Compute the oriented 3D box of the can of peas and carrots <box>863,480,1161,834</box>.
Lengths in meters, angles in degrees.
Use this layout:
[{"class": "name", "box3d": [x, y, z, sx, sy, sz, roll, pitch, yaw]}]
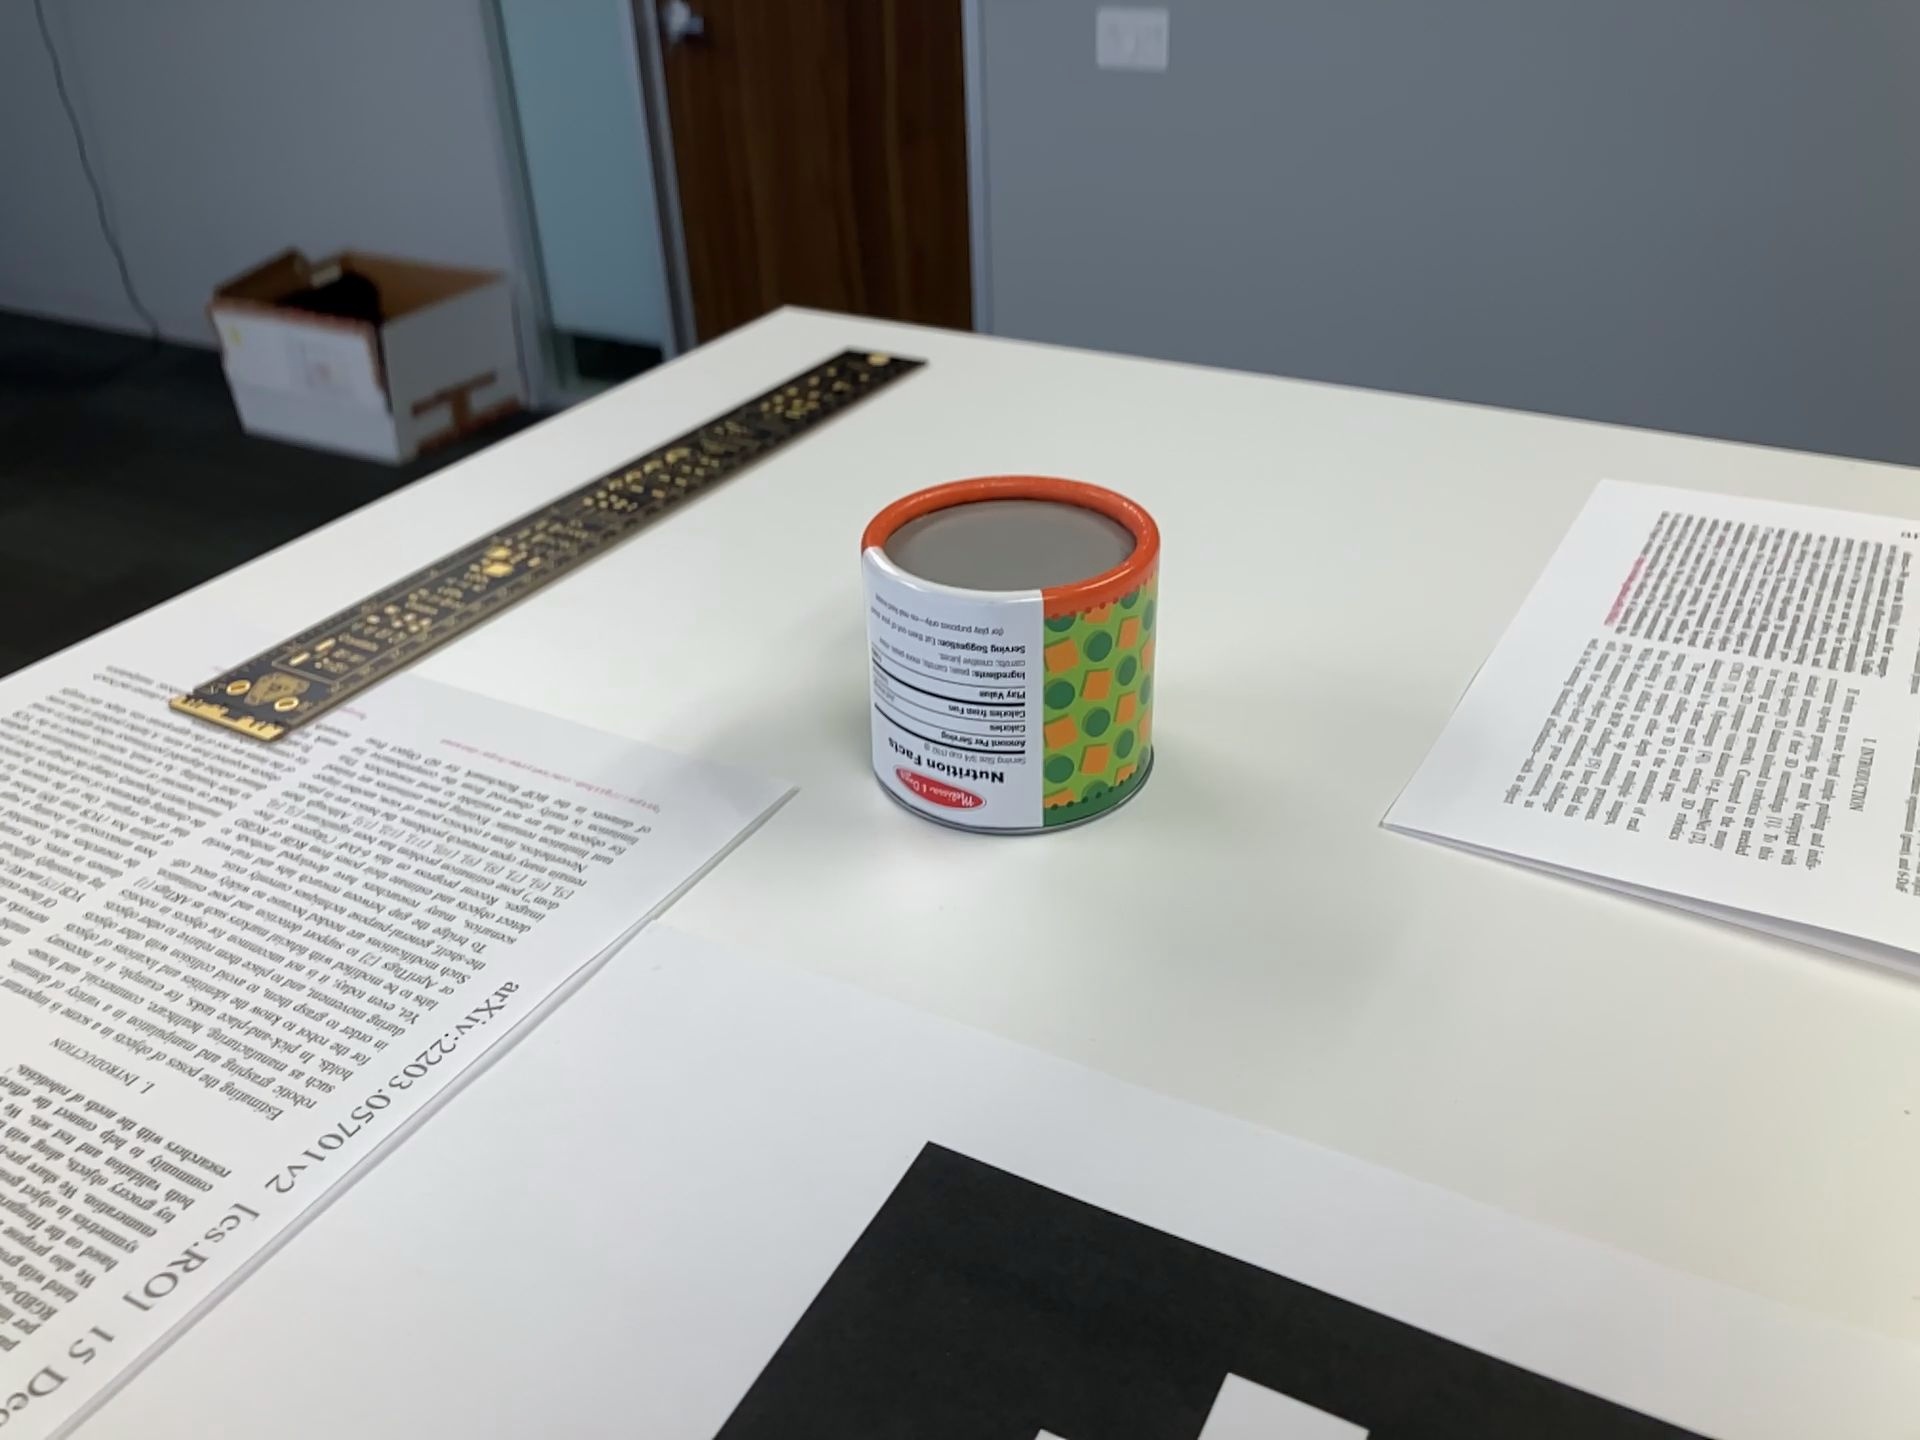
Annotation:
[{"class": "can of peas and carrots", "box3d": [0.013, -0.017, 0.364, 0.071, 0.059, 0.071, -1, 31, 0]}]
